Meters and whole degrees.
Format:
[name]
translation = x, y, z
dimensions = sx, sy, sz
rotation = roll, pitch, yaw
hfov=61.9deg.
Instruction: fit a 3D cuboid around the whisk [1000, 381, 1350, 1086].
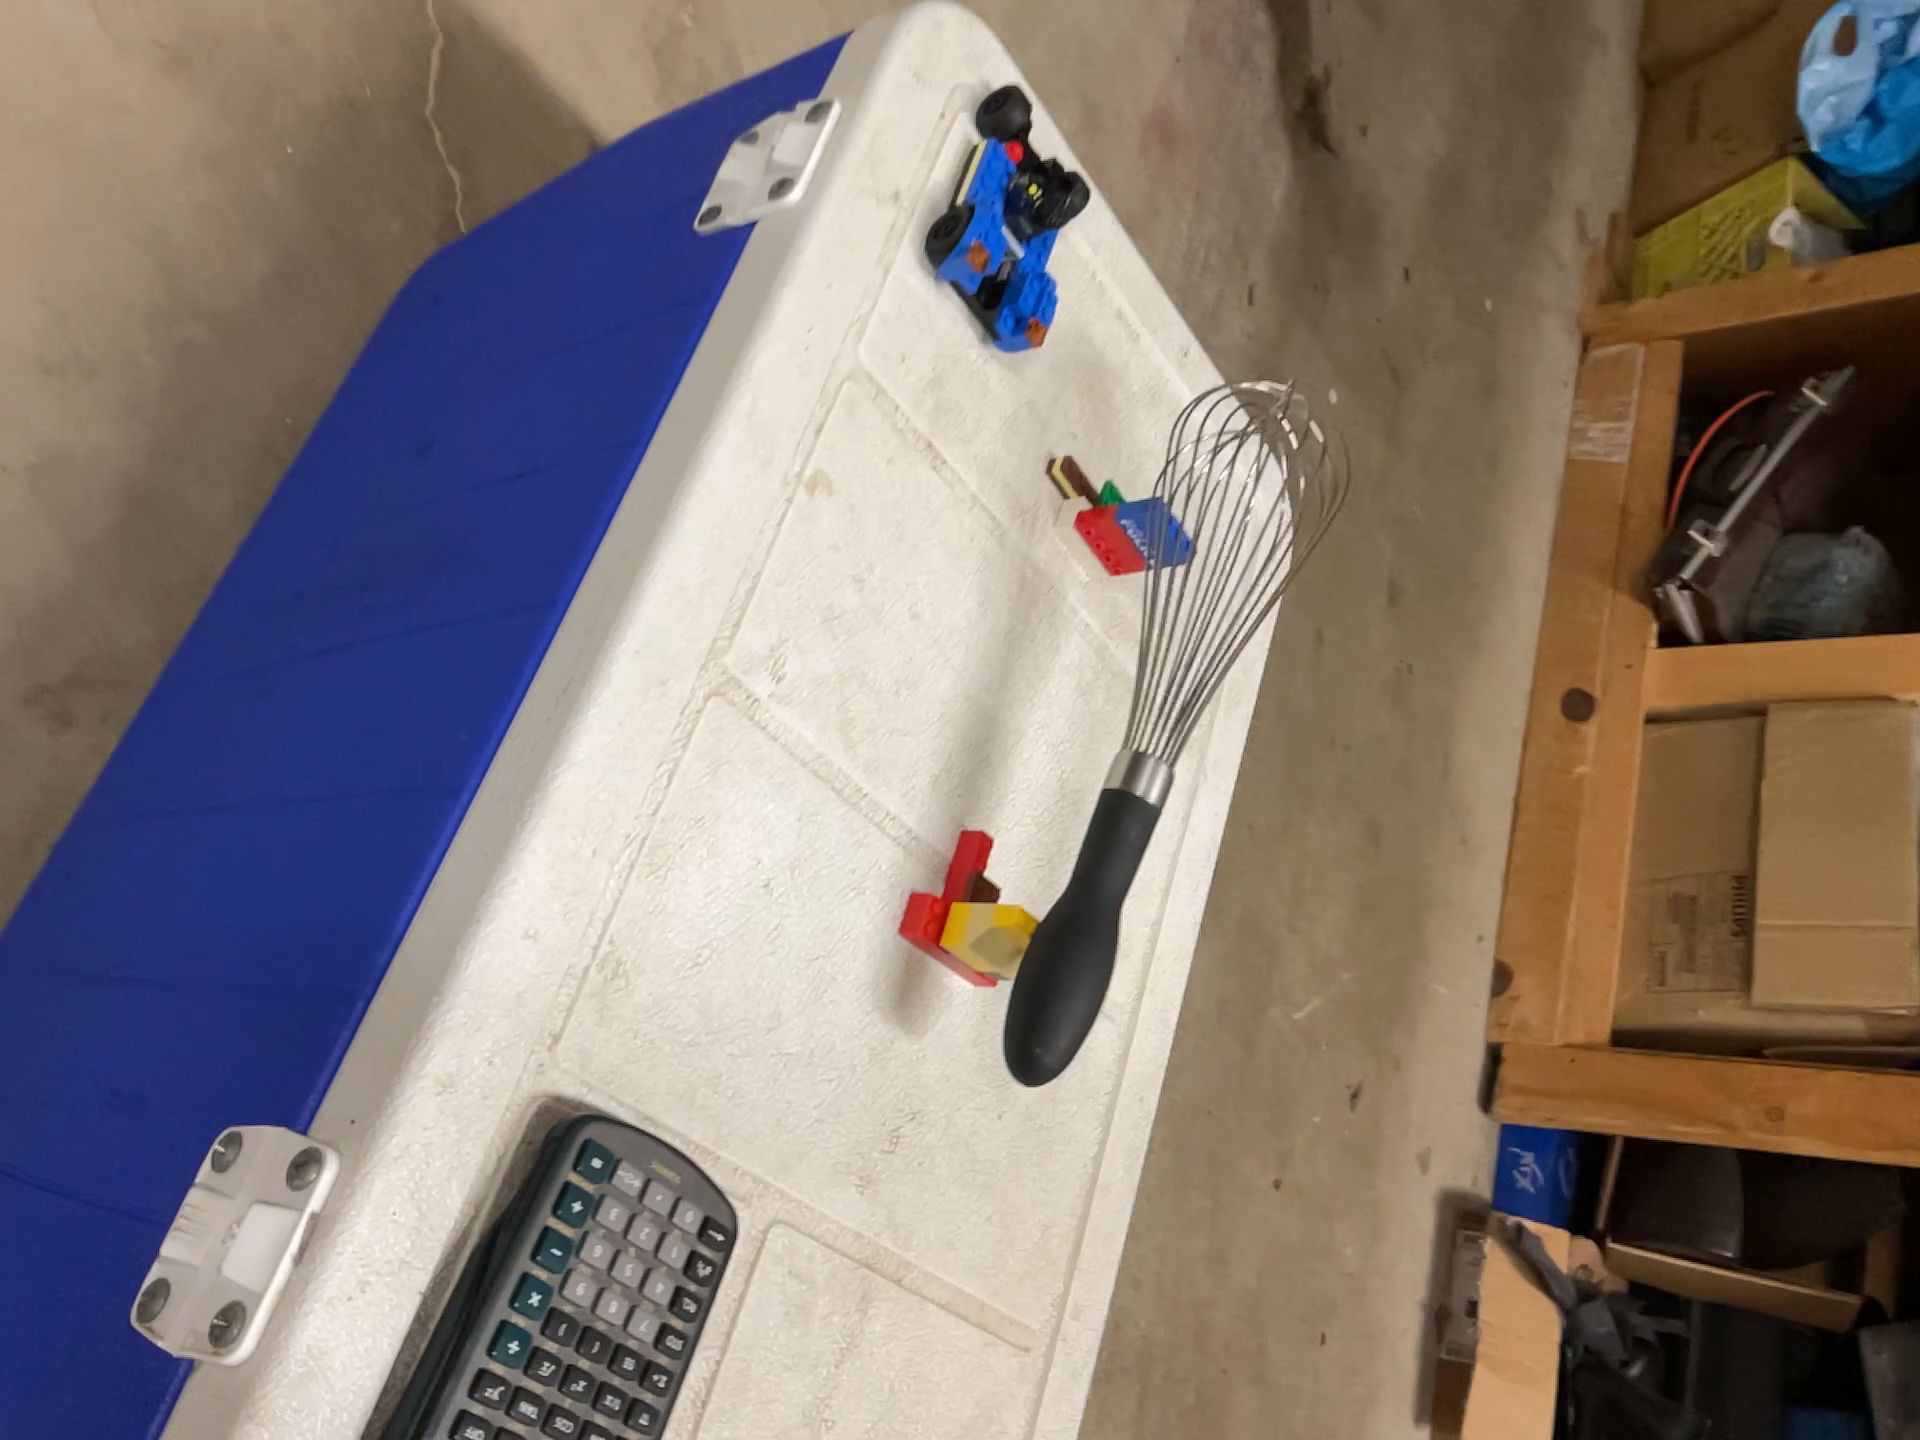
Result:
[whisk]
translation = 0.074, -0.005, 0.564
dimensions = 0.070, 0.070, 0.285
rotation = 46, 59, -45
